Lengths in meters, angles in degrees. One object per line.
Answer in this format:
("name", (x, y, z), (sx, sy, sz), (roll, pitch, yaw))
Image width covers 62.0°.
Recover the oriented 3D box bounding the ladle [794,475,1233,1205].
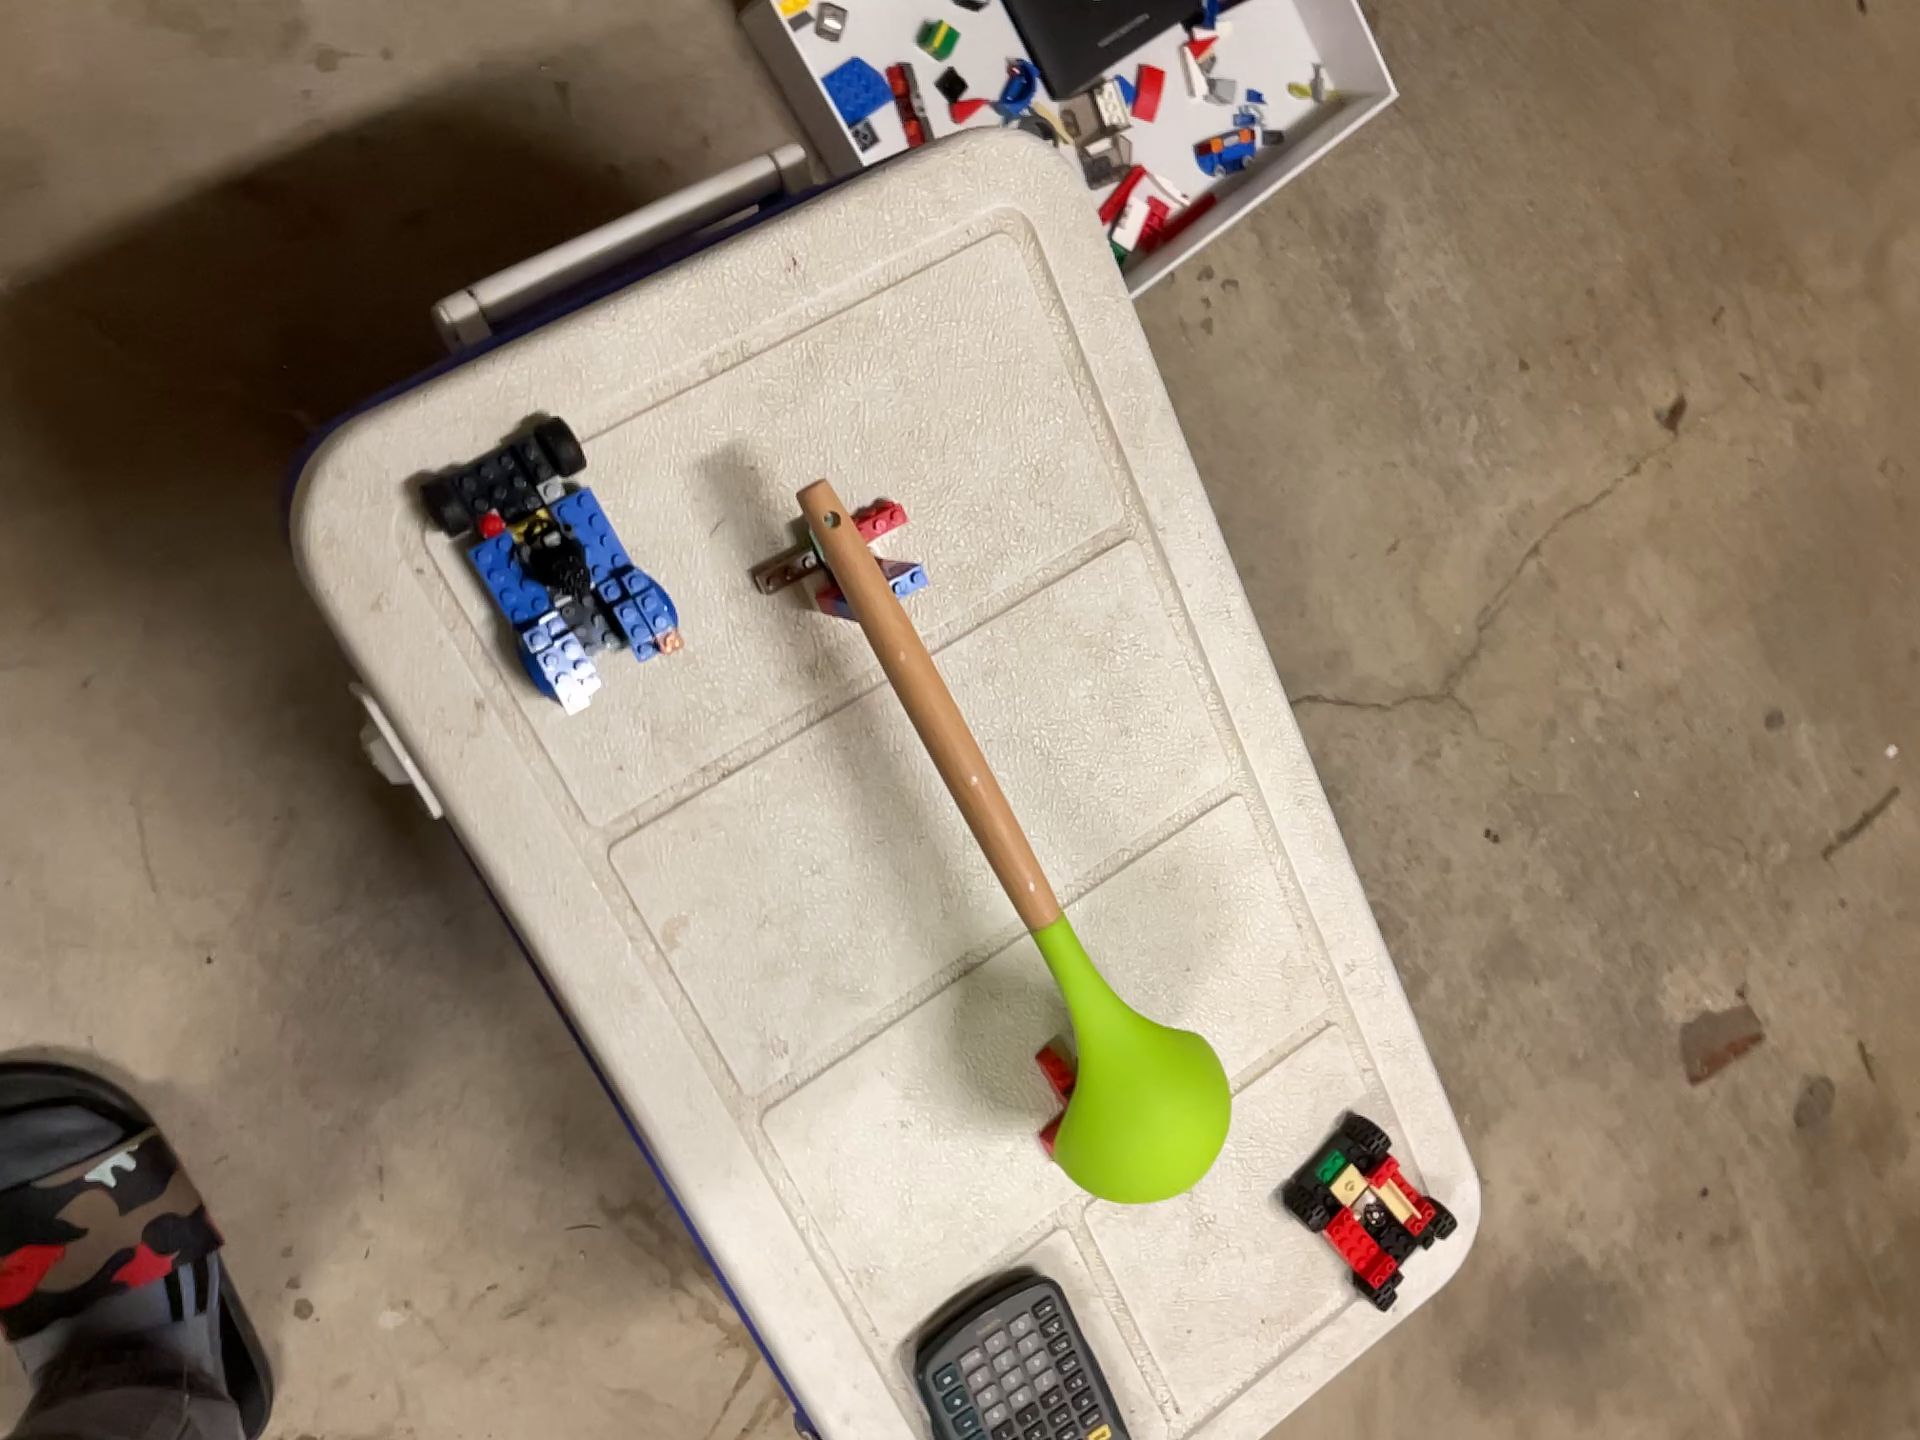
("ladle", (0.017, 0.052, 0.609), (0.078, 0.062, 0.320), (-31, 104, -11))
